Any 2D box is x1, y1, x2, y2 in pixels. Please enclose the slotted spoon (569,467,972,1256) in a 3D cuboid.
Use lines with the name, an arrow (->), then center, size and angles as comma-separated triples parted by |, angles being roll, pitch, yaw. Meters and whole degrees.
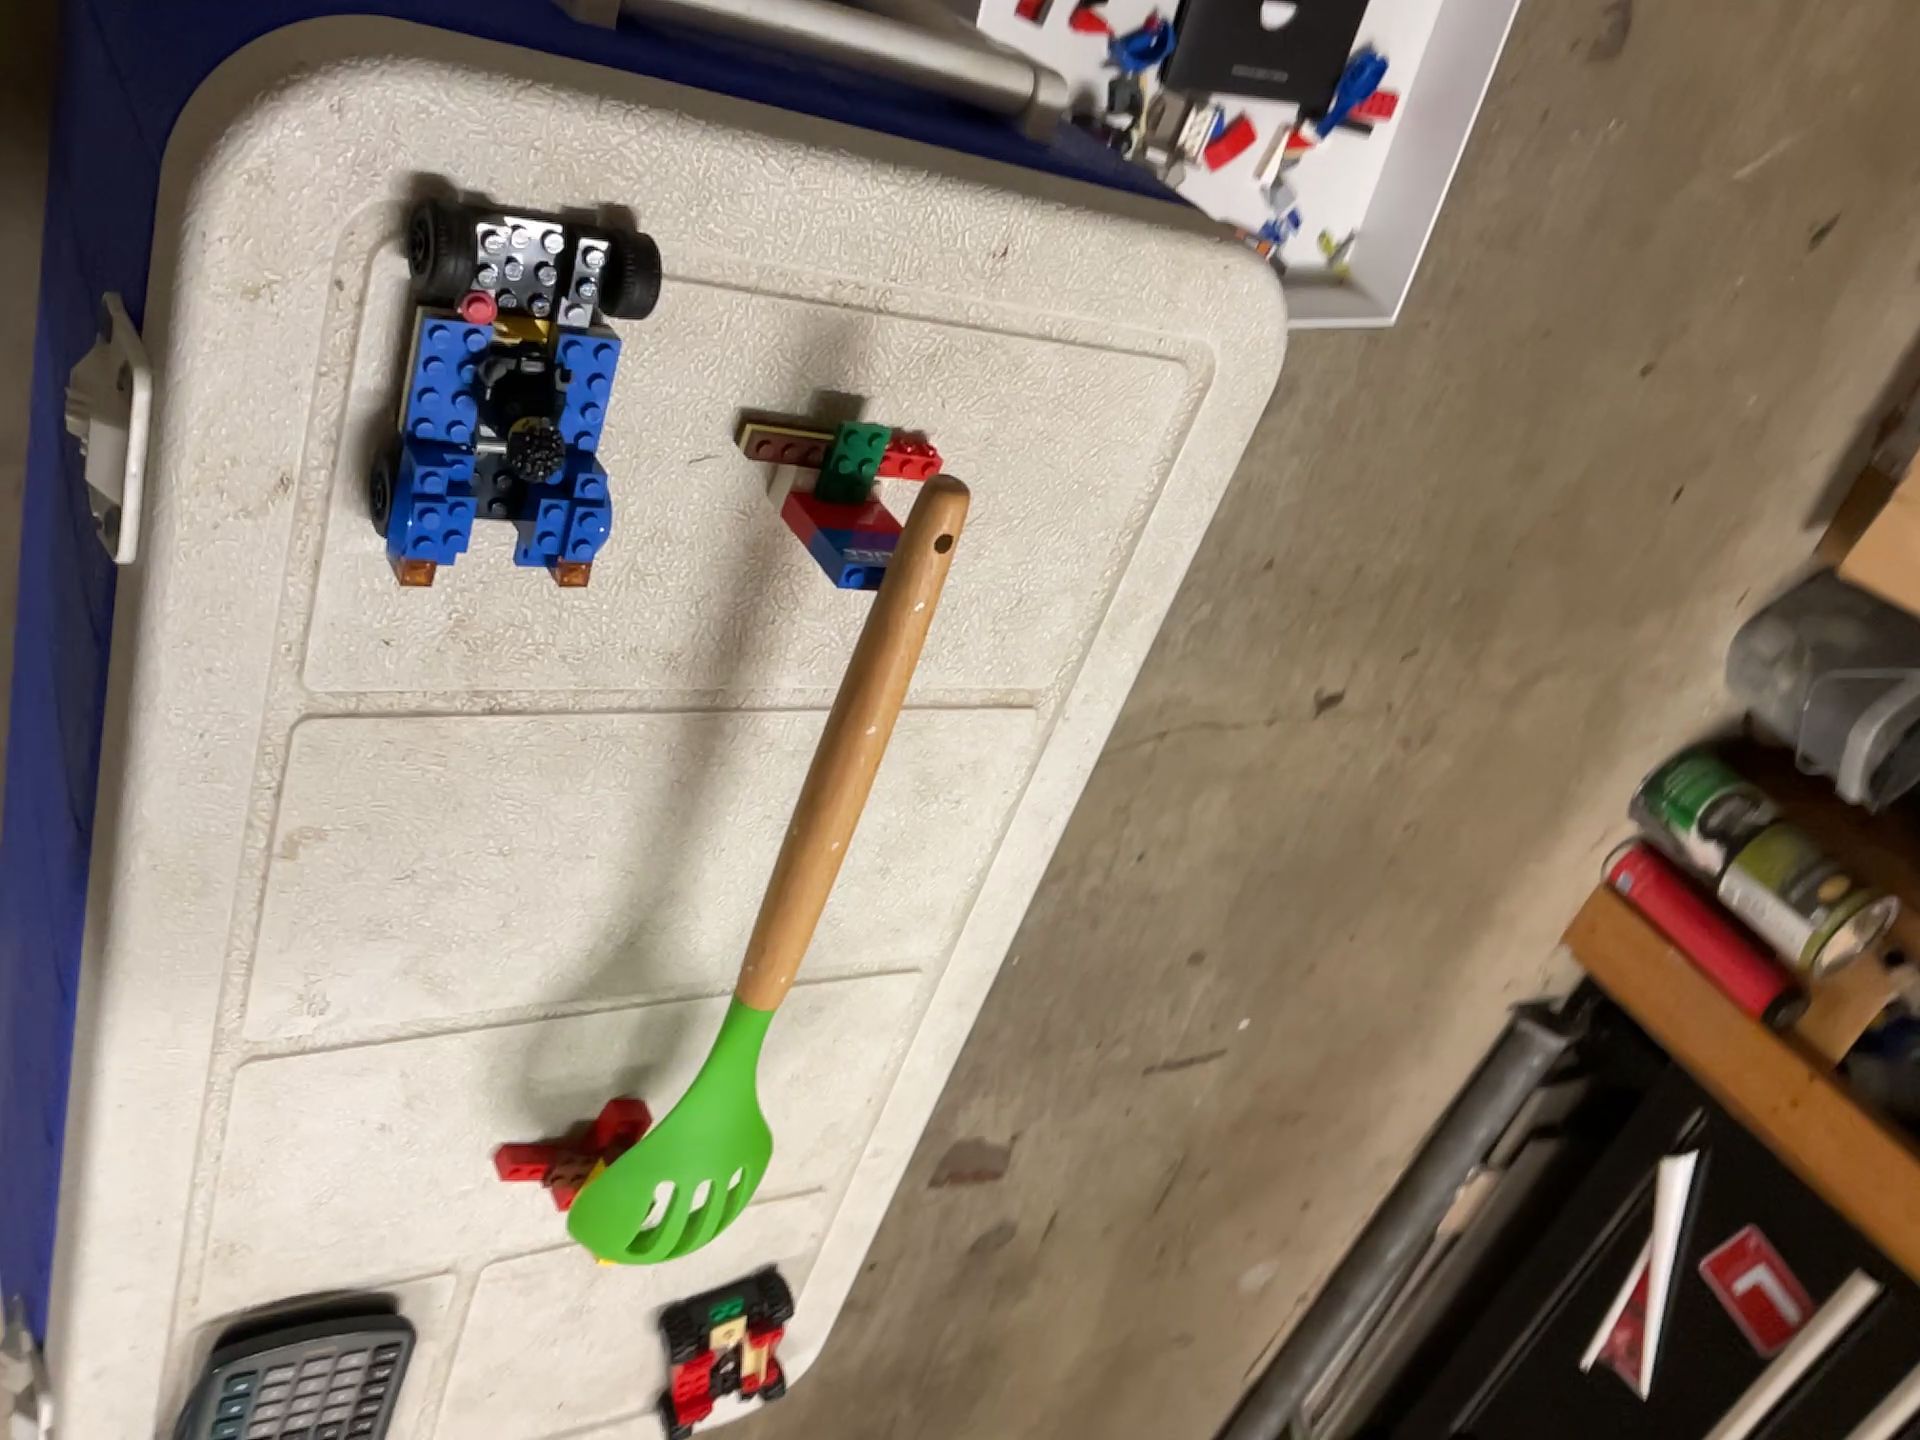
slotted spoon -> -0.056, 0.064, 0.484 | 0.070, 0.031, 0.313 | 0, 127, -35
